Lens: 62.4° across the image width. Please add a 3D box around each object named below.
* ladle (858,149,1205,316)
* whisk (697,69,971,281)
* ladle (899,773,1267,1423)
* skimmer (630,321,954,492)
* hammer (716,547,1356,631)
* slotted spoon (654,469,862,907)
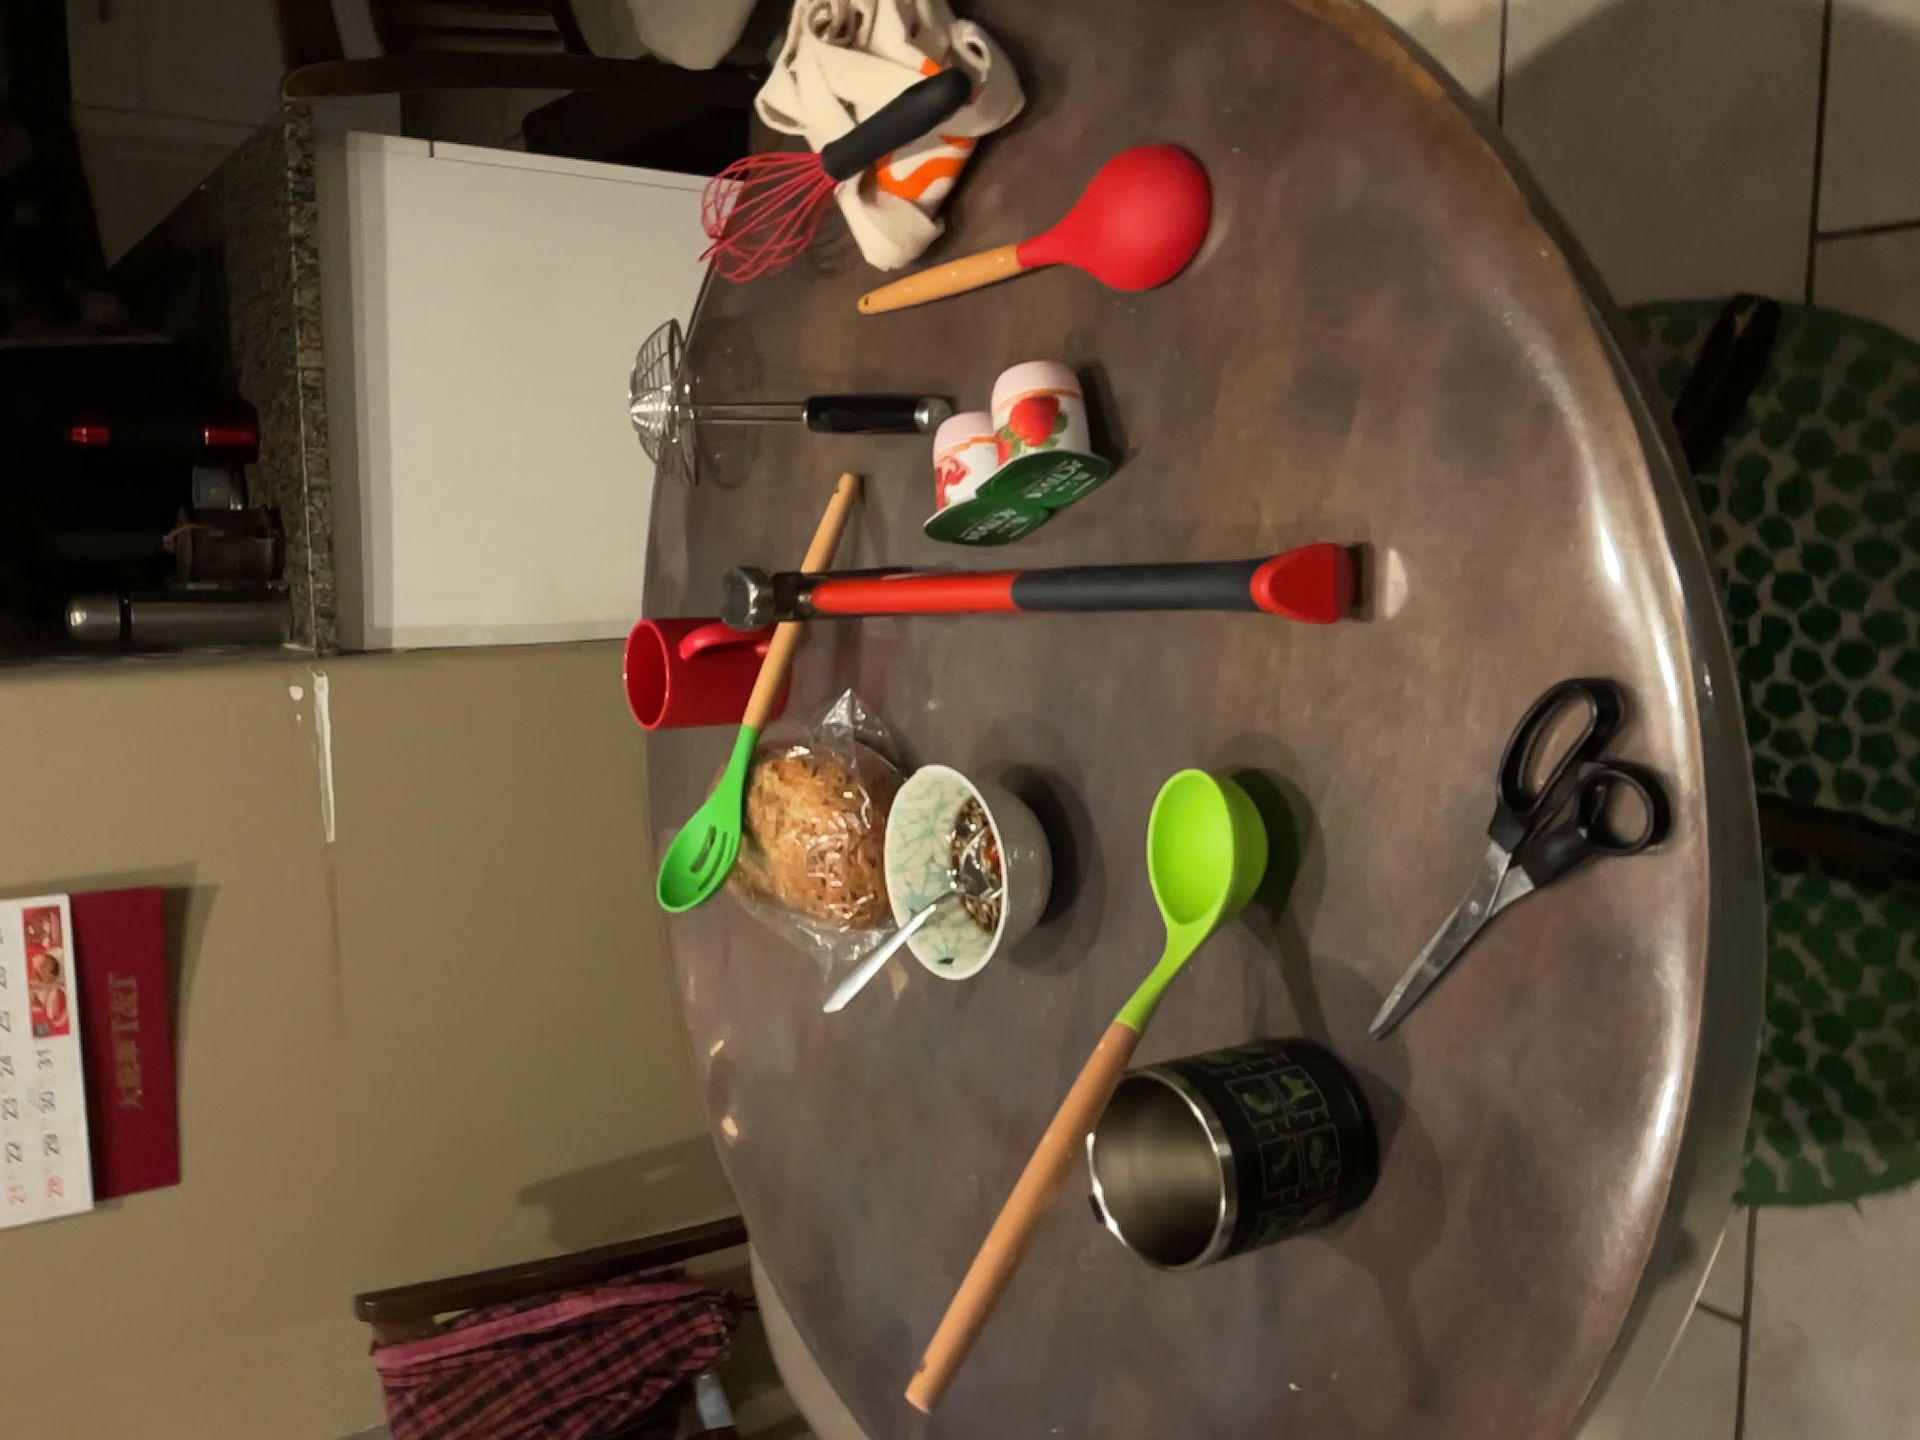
[{"bbox_3d":[0.023,-0.260,0.902,0.316,0.031,0.069,6,99,57],"label":"ladle"},{"bbox_3d":[-0.084,-0.331,0.960,0.296,0.073,0.073,-5,89,55],"label":"whisk"},{"bbox_3d":[0.053,0.158,0.714,0.062,0.320,0.078,38,155,-8],"label":"ladle"},{"bbox_3d":[-0.118,-0.218,1.108,0.364,0.090,0.127,12,112,44],"label":"skimmer"},{"bbox_3d":[0.042,-0.070,0.854,0.387,0.143,0.038,4,98,44],"label":"hammer"},{"bbox_3d":[-0.128,-0.021,1.057,0.070,0.031,0.314,20,88,48],"label":"slotted spoon"}]
